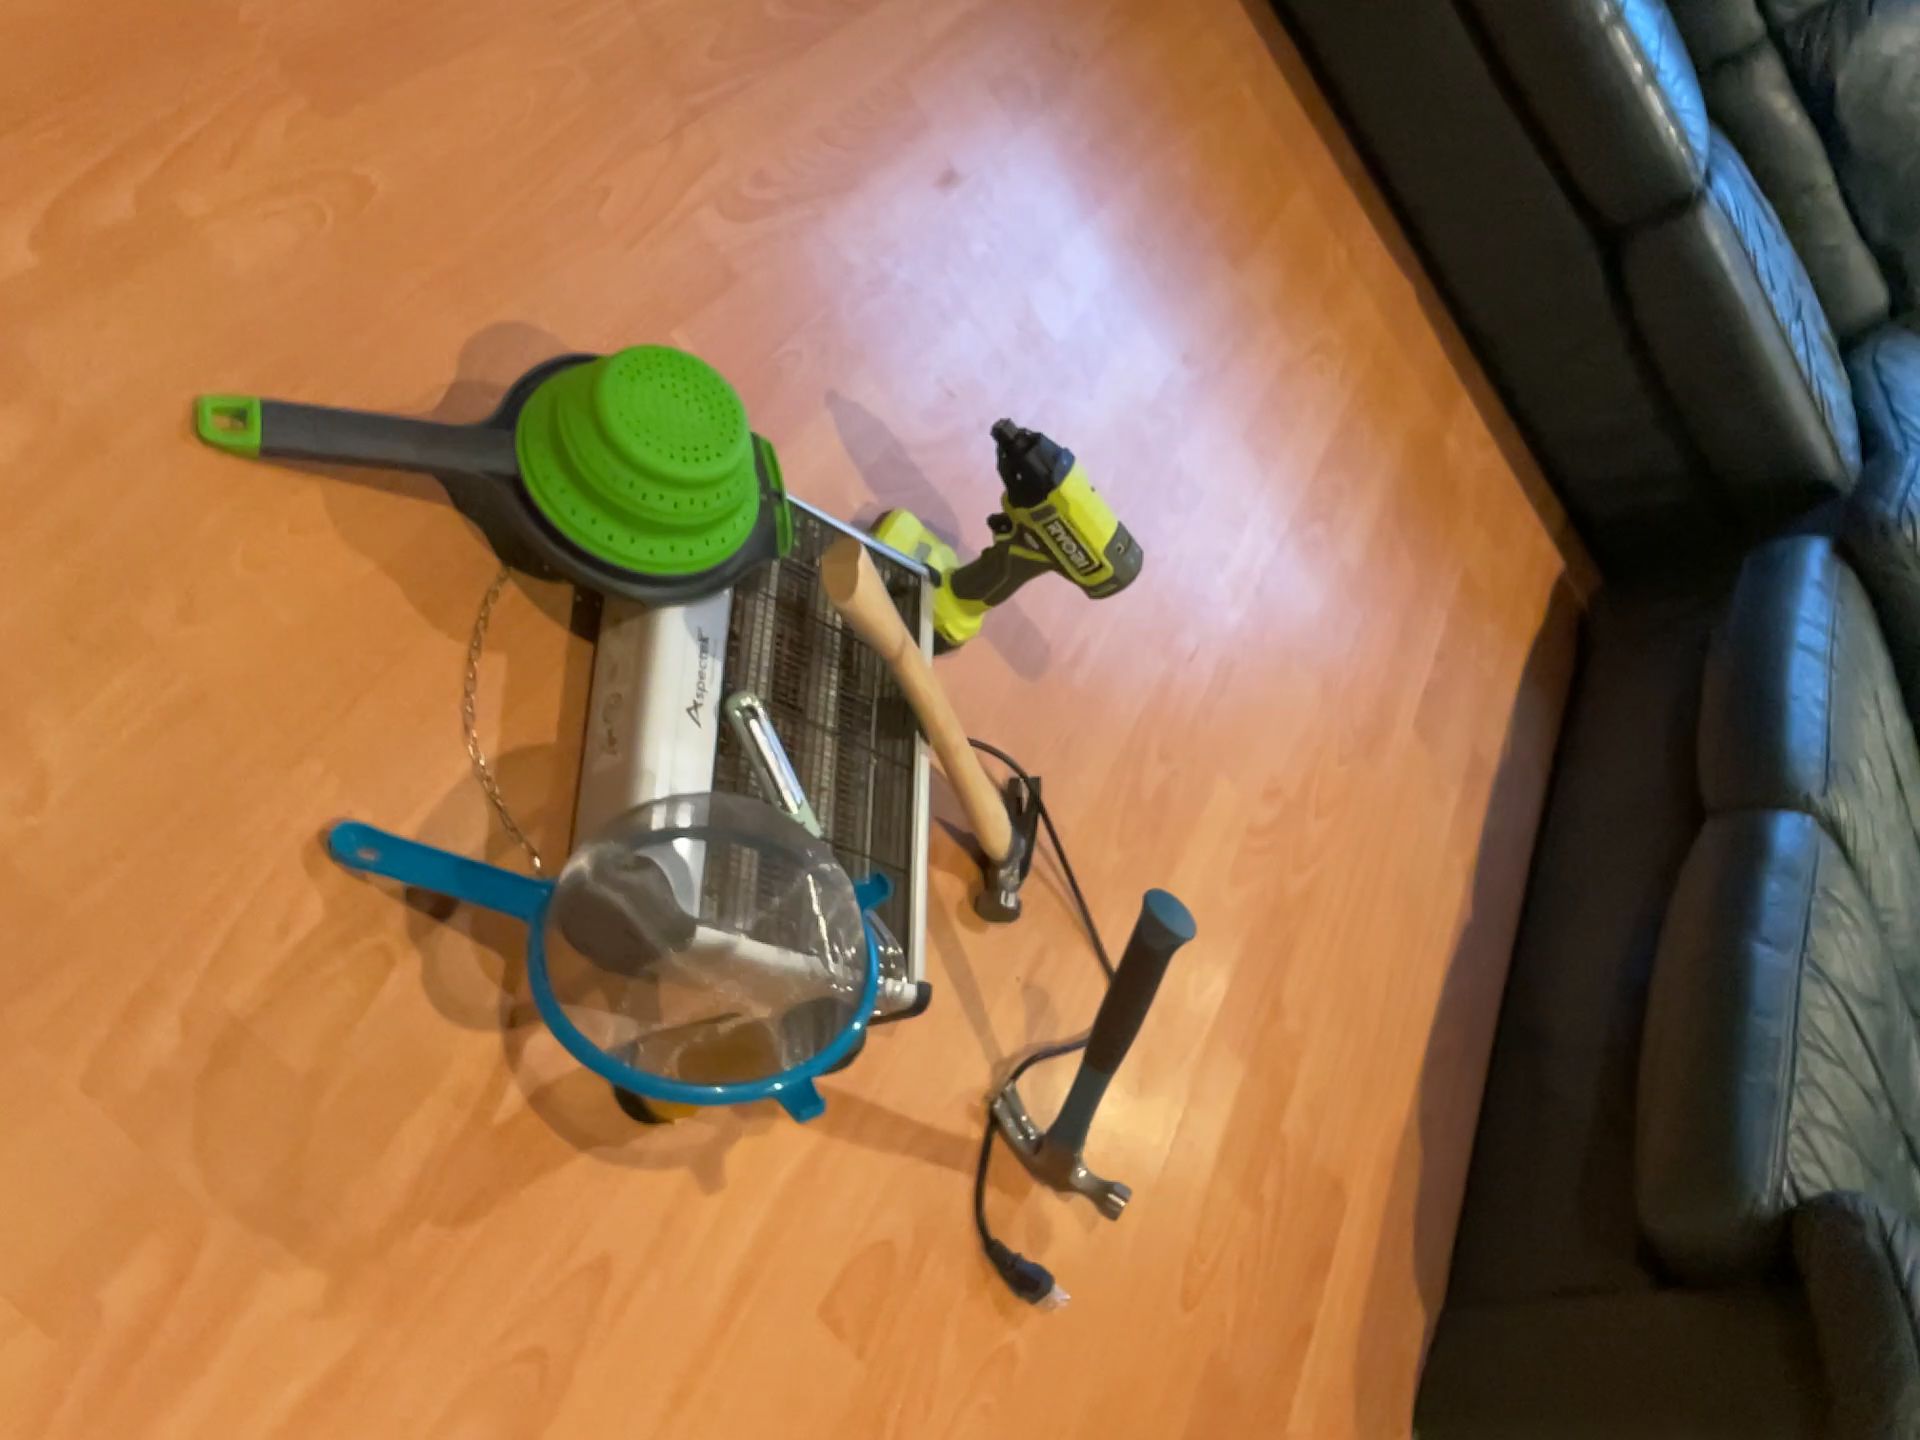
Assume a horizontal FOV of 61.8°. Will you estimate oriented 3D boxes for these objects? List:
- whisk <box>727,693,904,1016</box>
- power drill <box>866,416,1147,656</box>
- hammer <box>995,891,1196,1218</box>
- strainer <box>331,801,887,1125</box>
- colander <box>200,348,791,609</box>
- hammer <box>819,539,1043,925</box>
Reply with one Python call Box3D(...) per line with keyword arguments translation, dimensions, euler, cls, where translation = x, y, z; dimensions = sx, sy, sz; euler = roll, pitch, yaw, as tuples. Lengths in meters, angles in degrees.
Box3D(translation=(-0.104, 0.094, 1.119), dimensions=(0.058, 0.059, 0.246), euler=(-25, 89, -21), cls="whisk")
Box3D(translation=(0.024, -0.153, 1.361), dimensions=(0.171, 0.223, 0.080), euler=(49, 43, -21), cls="power drill")
Box3D(translation=(0.114, 0.255, 1.234), dimensions=(0.128, 0.330, 0.033), euler=(28, 40, 14), cls="hammer")
Box3D(translation=(-0.207, 0.096, 0.950), dimensions=(0.340, 0.095, 0.211), euler=(18, 40, -2), cls="strainer")
Box3D(translation=(-0.281, -0.191, 1.064), dimensions=(0.397, 0.094, 0.204), euler=(3, 63, -30), cls="colander")
Box3D(translation=(-0.015, -0.002, 1.275), dimensions=(0.410, 0.038, 0.146), euler=(62, 34, -47), cls="hammer")
